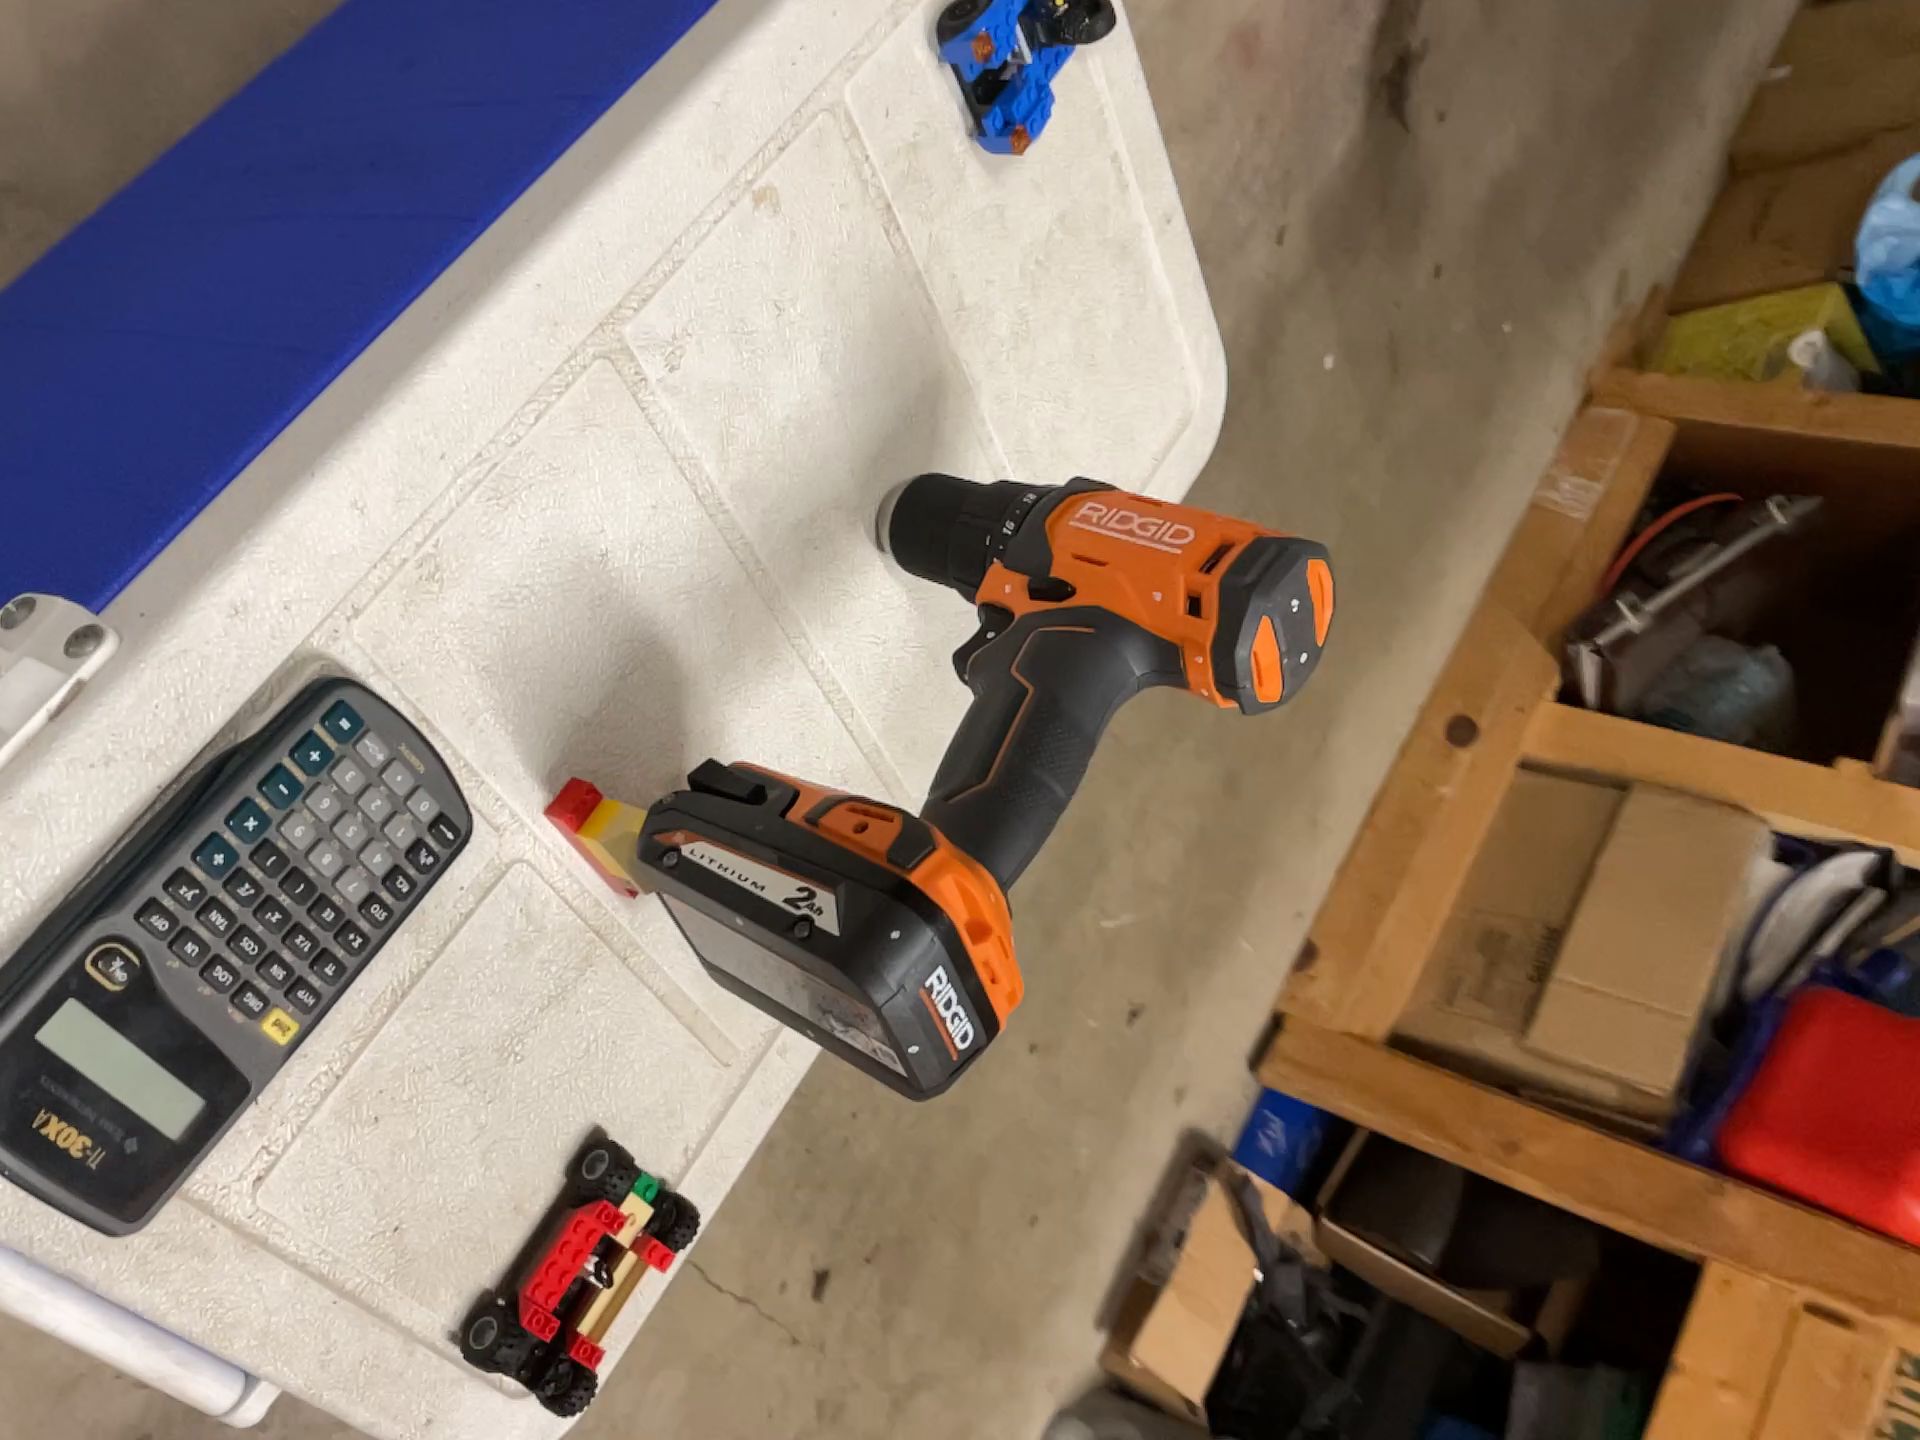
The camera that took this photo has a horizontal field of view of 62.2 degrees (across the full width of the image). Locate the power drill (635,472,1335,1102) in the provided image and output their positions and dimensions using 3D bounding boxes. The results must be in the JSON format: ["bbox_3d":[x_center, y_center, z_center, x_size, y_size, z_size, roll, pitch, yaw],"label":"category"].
[{"bbox_3d":[-0.006,-0.003,0.548,0.226,0.185,0.084,-47,139,-25],"label":"power drill"}]
